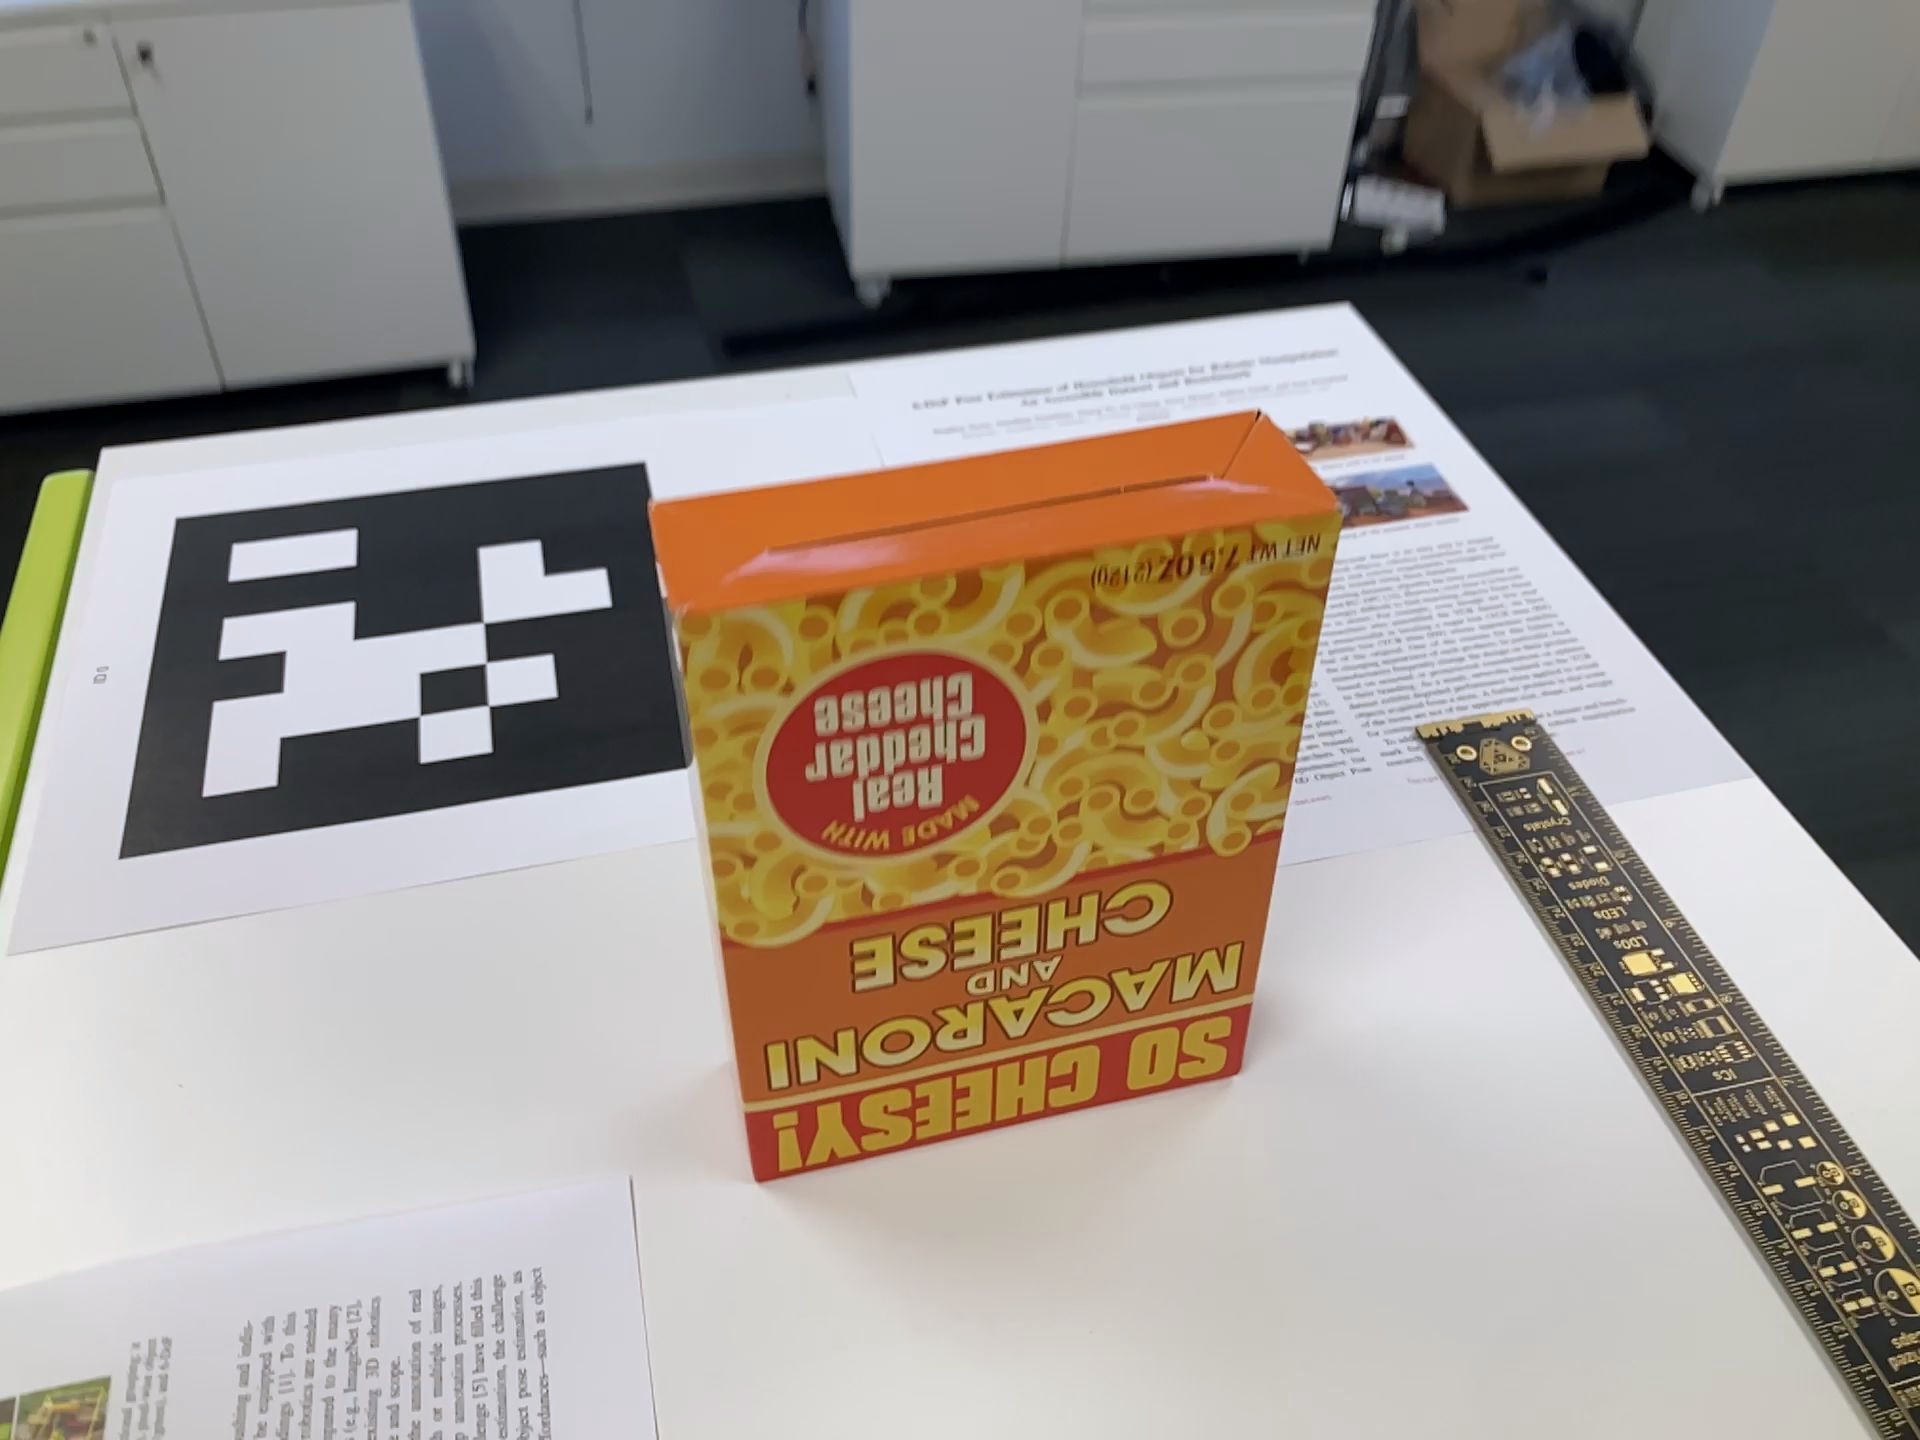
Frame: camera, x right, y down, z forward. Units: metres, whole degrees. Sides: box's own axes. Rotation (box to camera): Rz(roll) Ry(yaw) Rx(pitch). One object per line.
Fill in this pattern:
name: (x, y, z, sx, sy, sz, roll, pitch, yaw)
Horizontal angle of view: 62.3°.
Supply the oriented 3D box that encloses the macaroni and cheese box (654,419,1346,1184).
macaroni and cheese box: (0.008, 0.024, 0.344, 0.124, 0.166, 0.040, -10, 41, -11)
